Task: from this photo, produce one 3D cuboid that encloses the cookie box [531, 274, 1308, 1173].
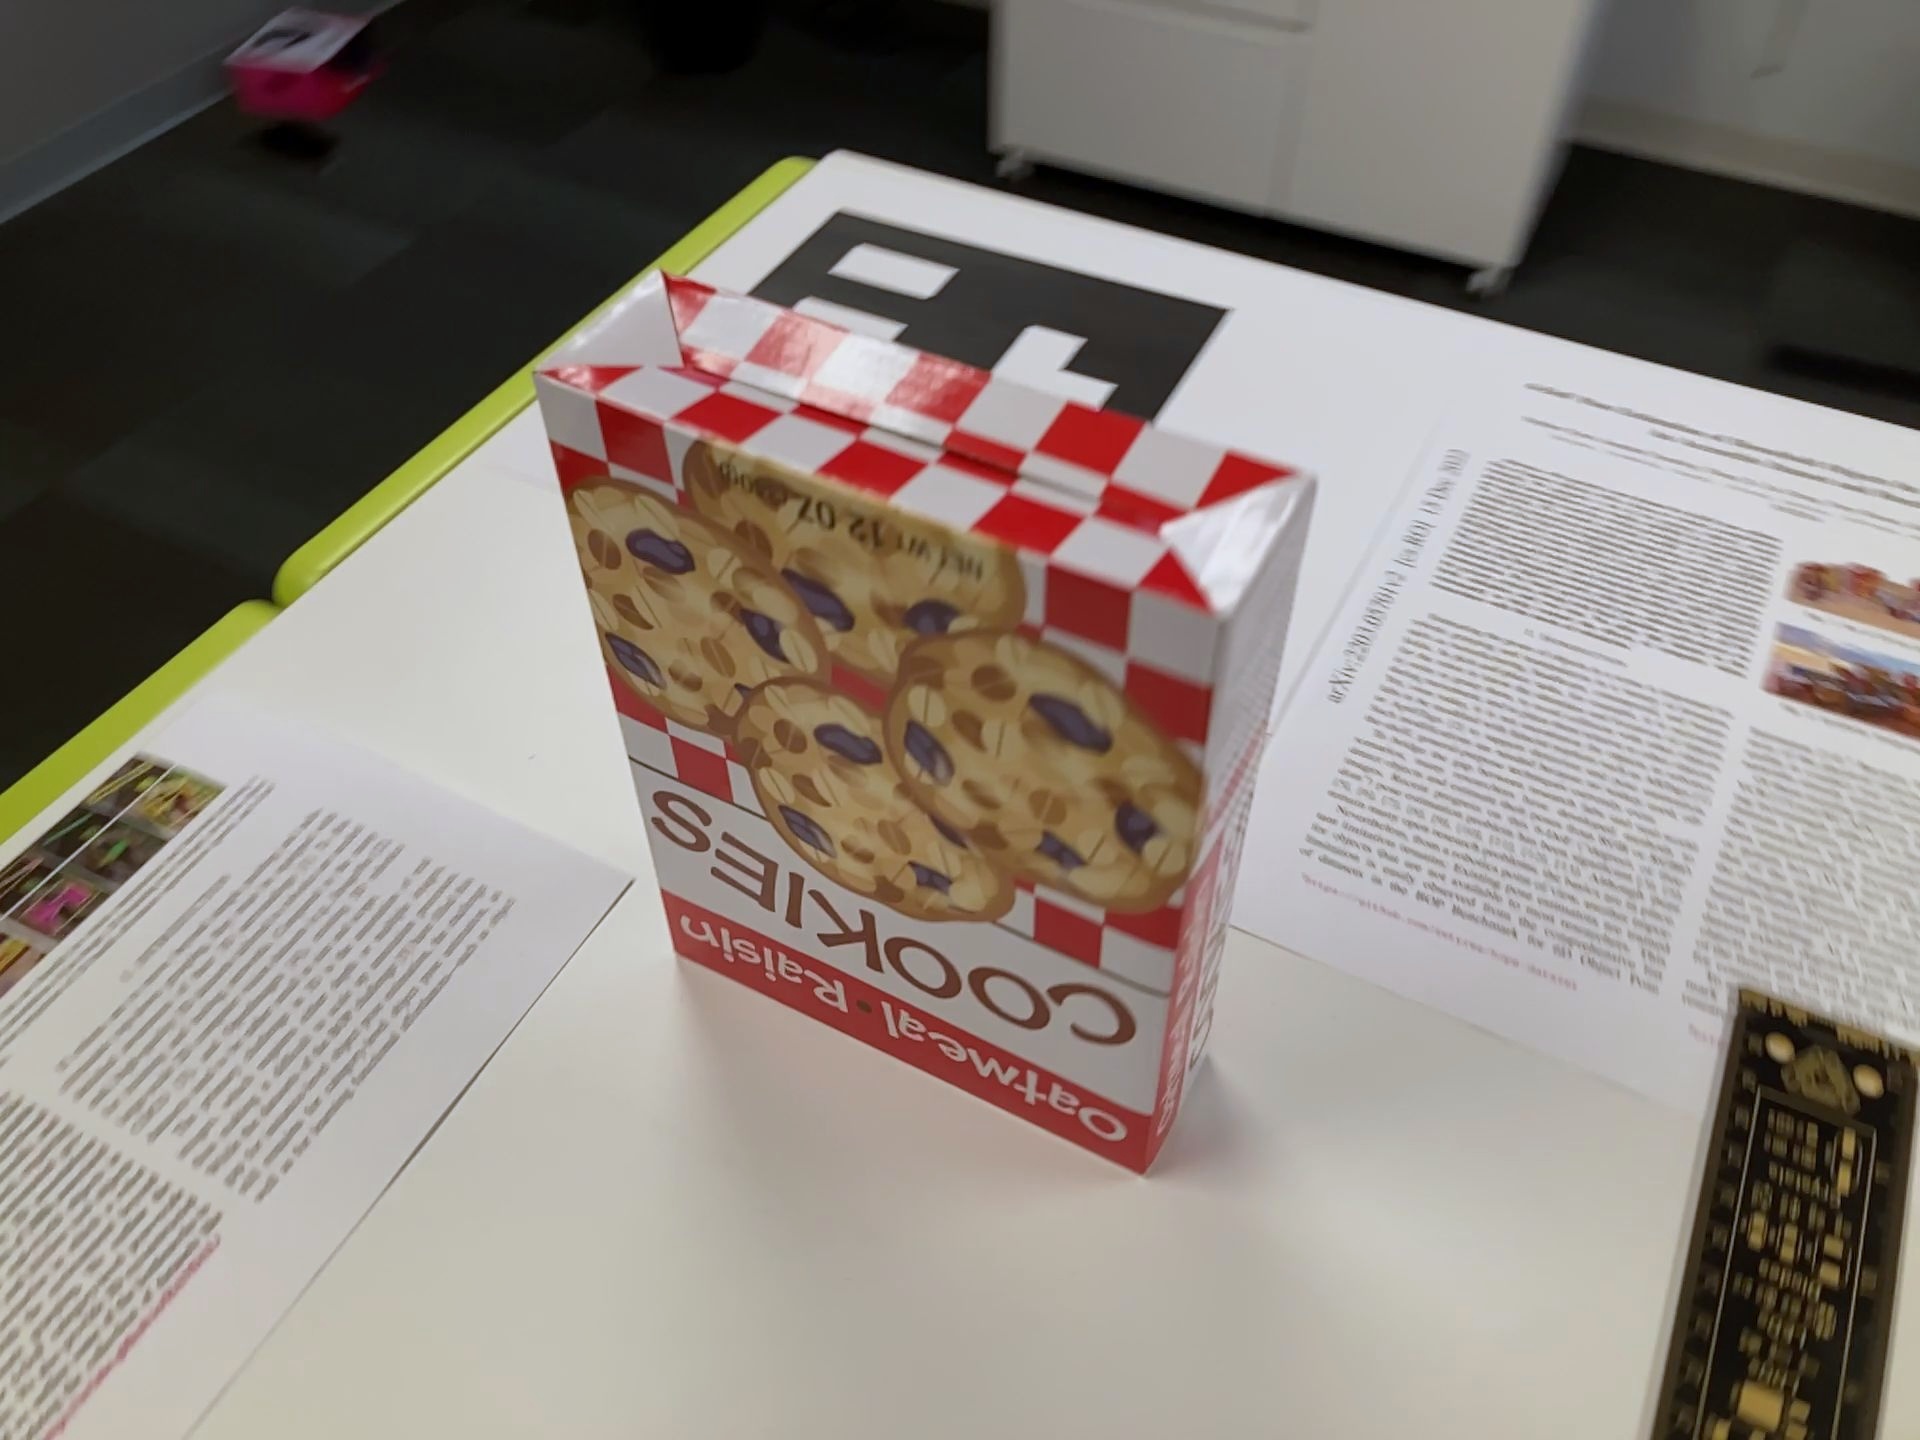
[{"bbox_3d":[-0.007,0.009,0.310,0.123,0.167,0.040,21,51,20],"label":"cookie box"}]
